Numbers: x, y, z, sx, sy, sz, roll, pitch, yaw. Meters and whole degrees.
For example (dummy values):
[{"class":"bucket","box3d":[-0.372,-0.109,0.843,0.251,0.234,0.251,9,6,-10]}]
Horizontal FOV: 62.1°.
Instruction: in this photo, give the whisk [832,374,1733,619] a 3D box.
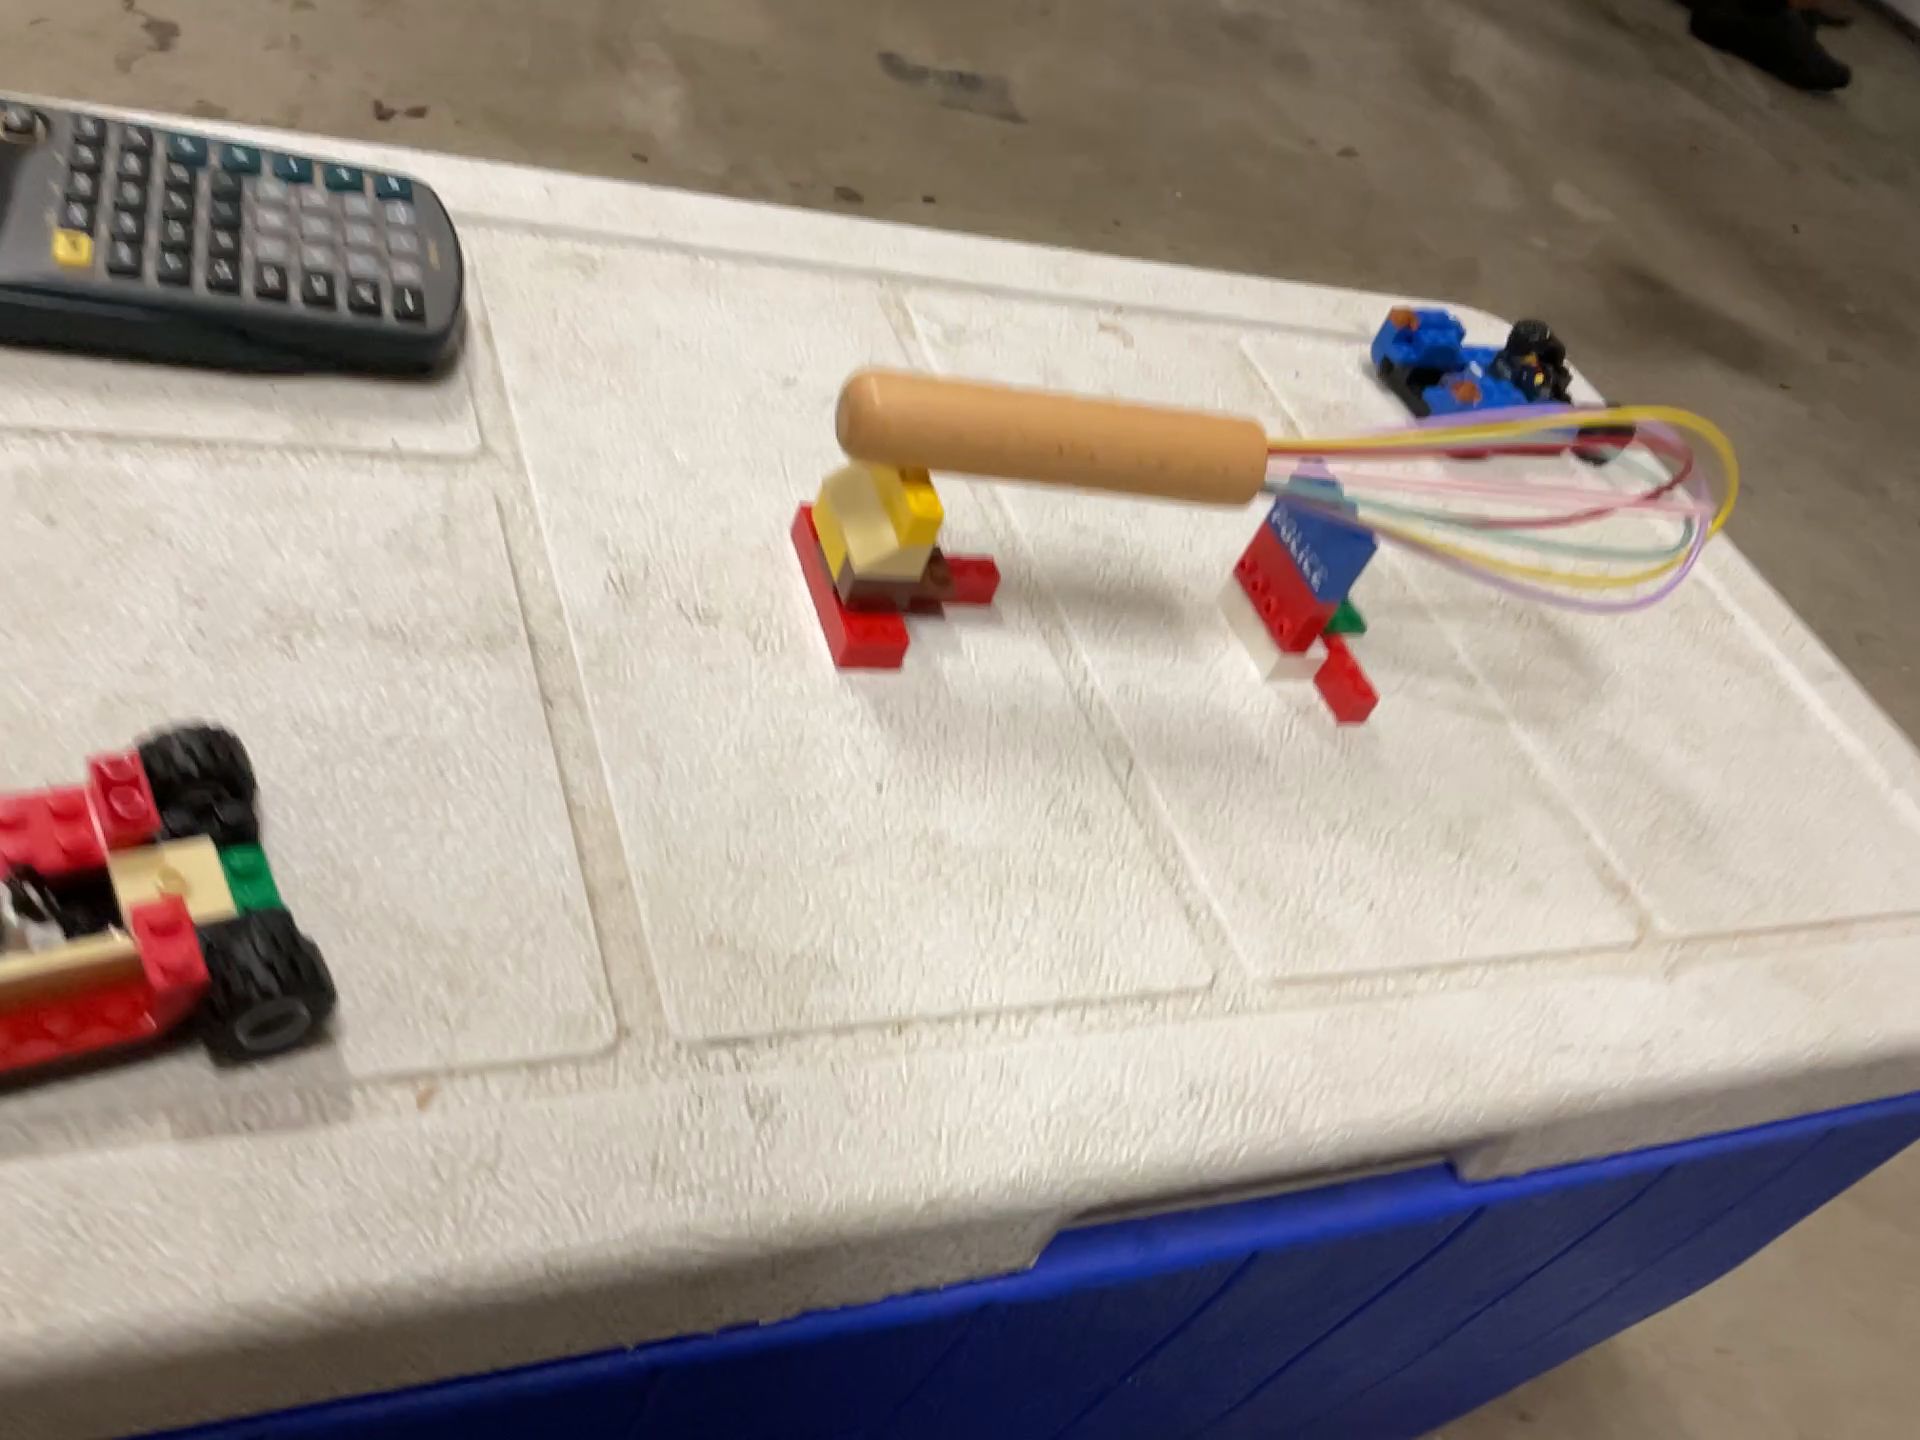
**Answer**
[{"class":"whisk","box3d":[0.089,-0.063,0.387,0.245,0.047,0.051,3,59,-20]}]
